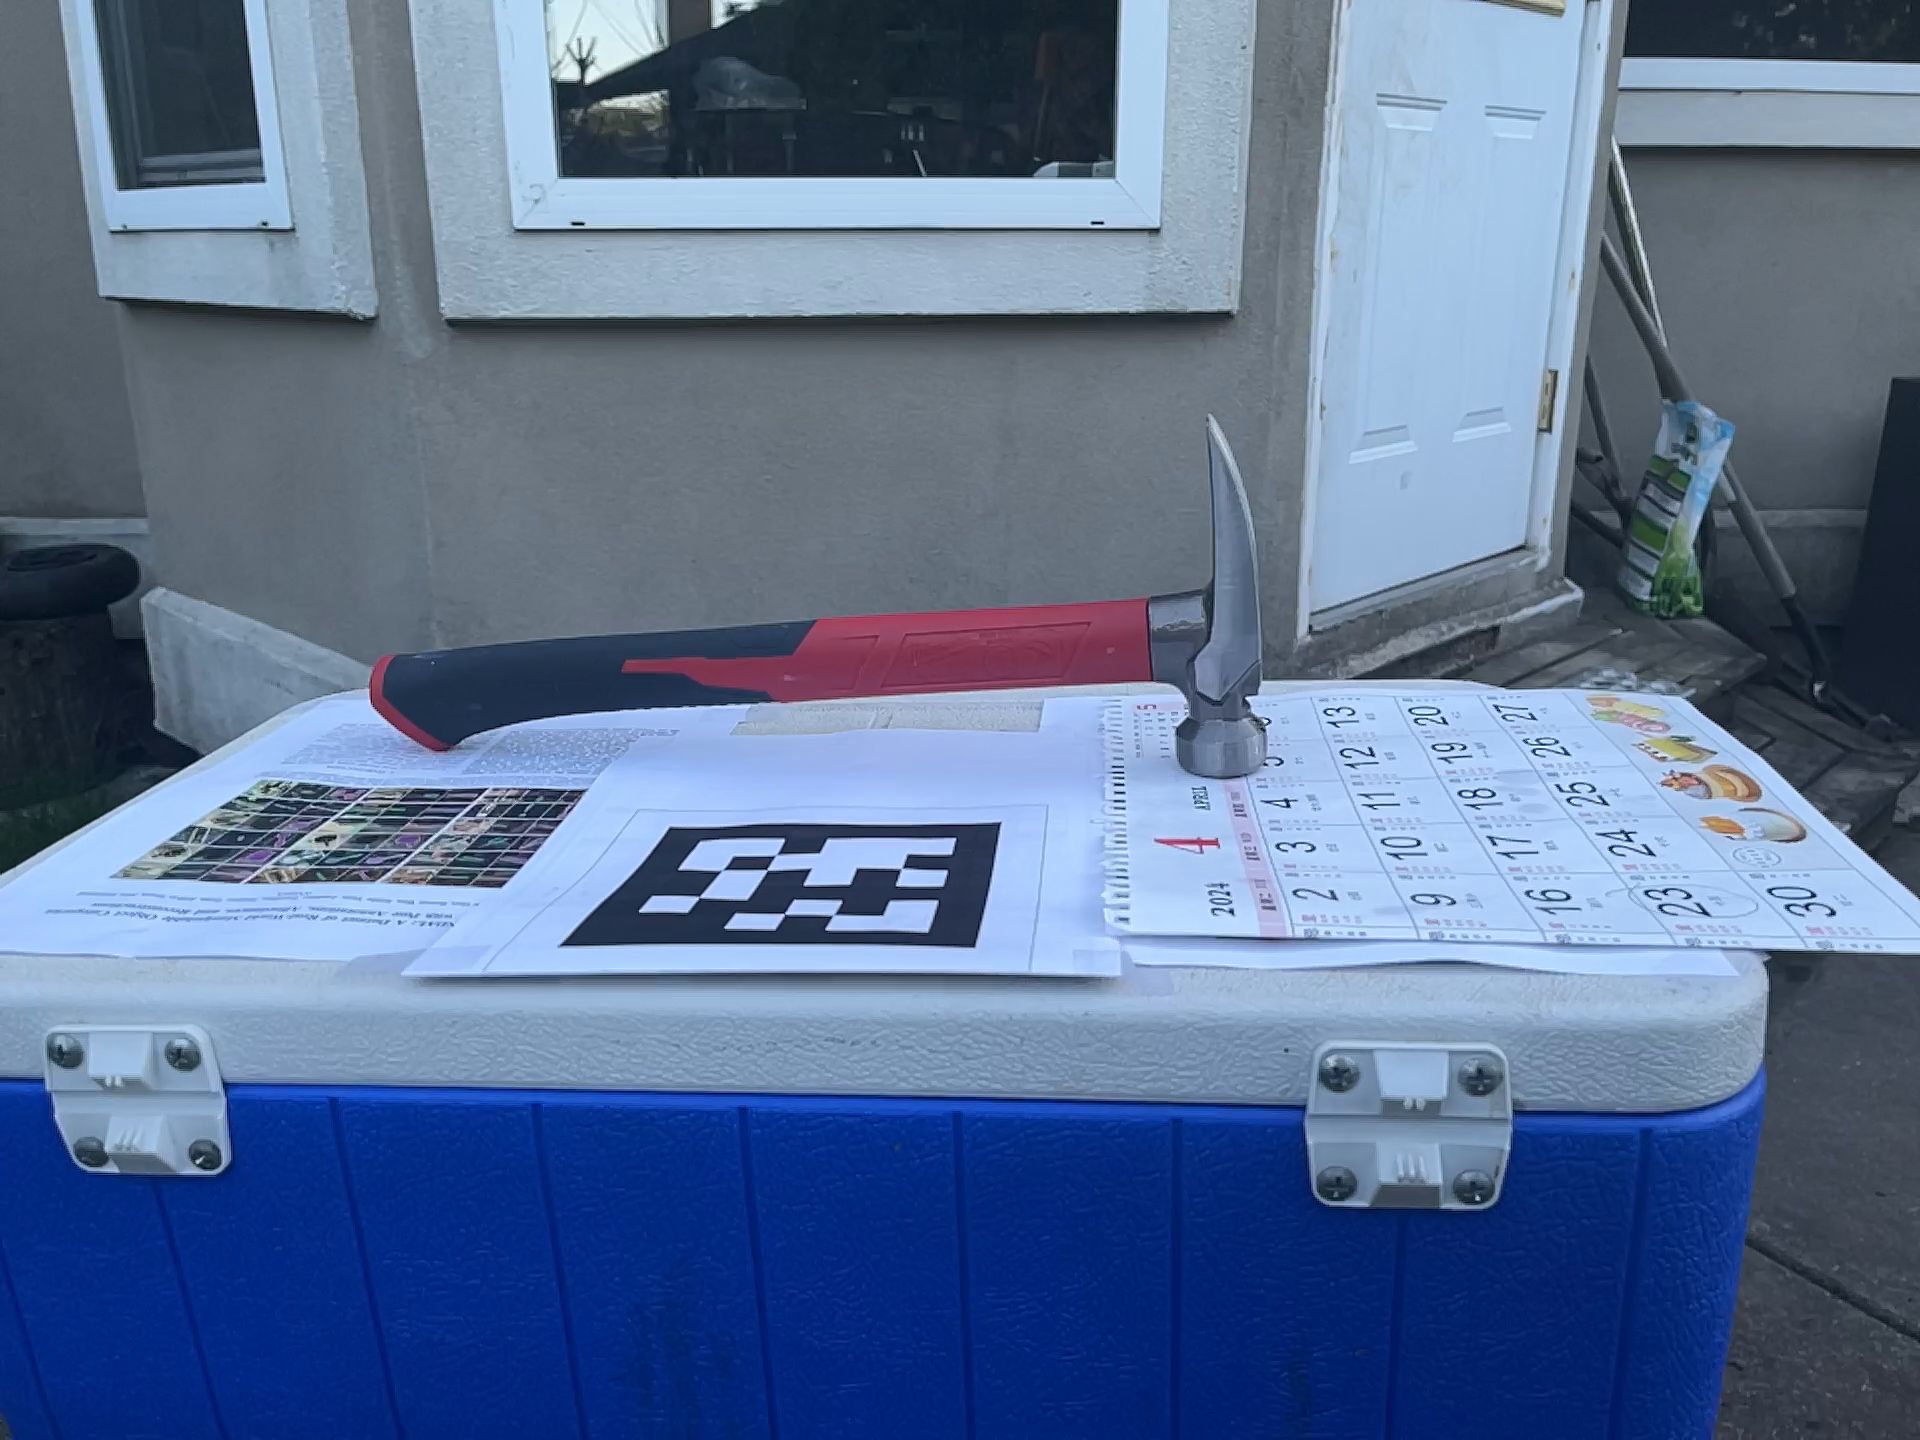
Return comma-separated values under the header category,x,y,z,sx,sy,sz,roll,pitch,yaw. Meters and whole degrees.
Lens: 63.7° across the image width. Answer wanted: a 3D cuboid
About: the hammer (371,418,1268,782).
category,x,y,z,sx,sy,sz,roll,pitch,yaw
hammer,-0.070,-0.039,0.652,0.386,0.143,0.038,-3,18,11
